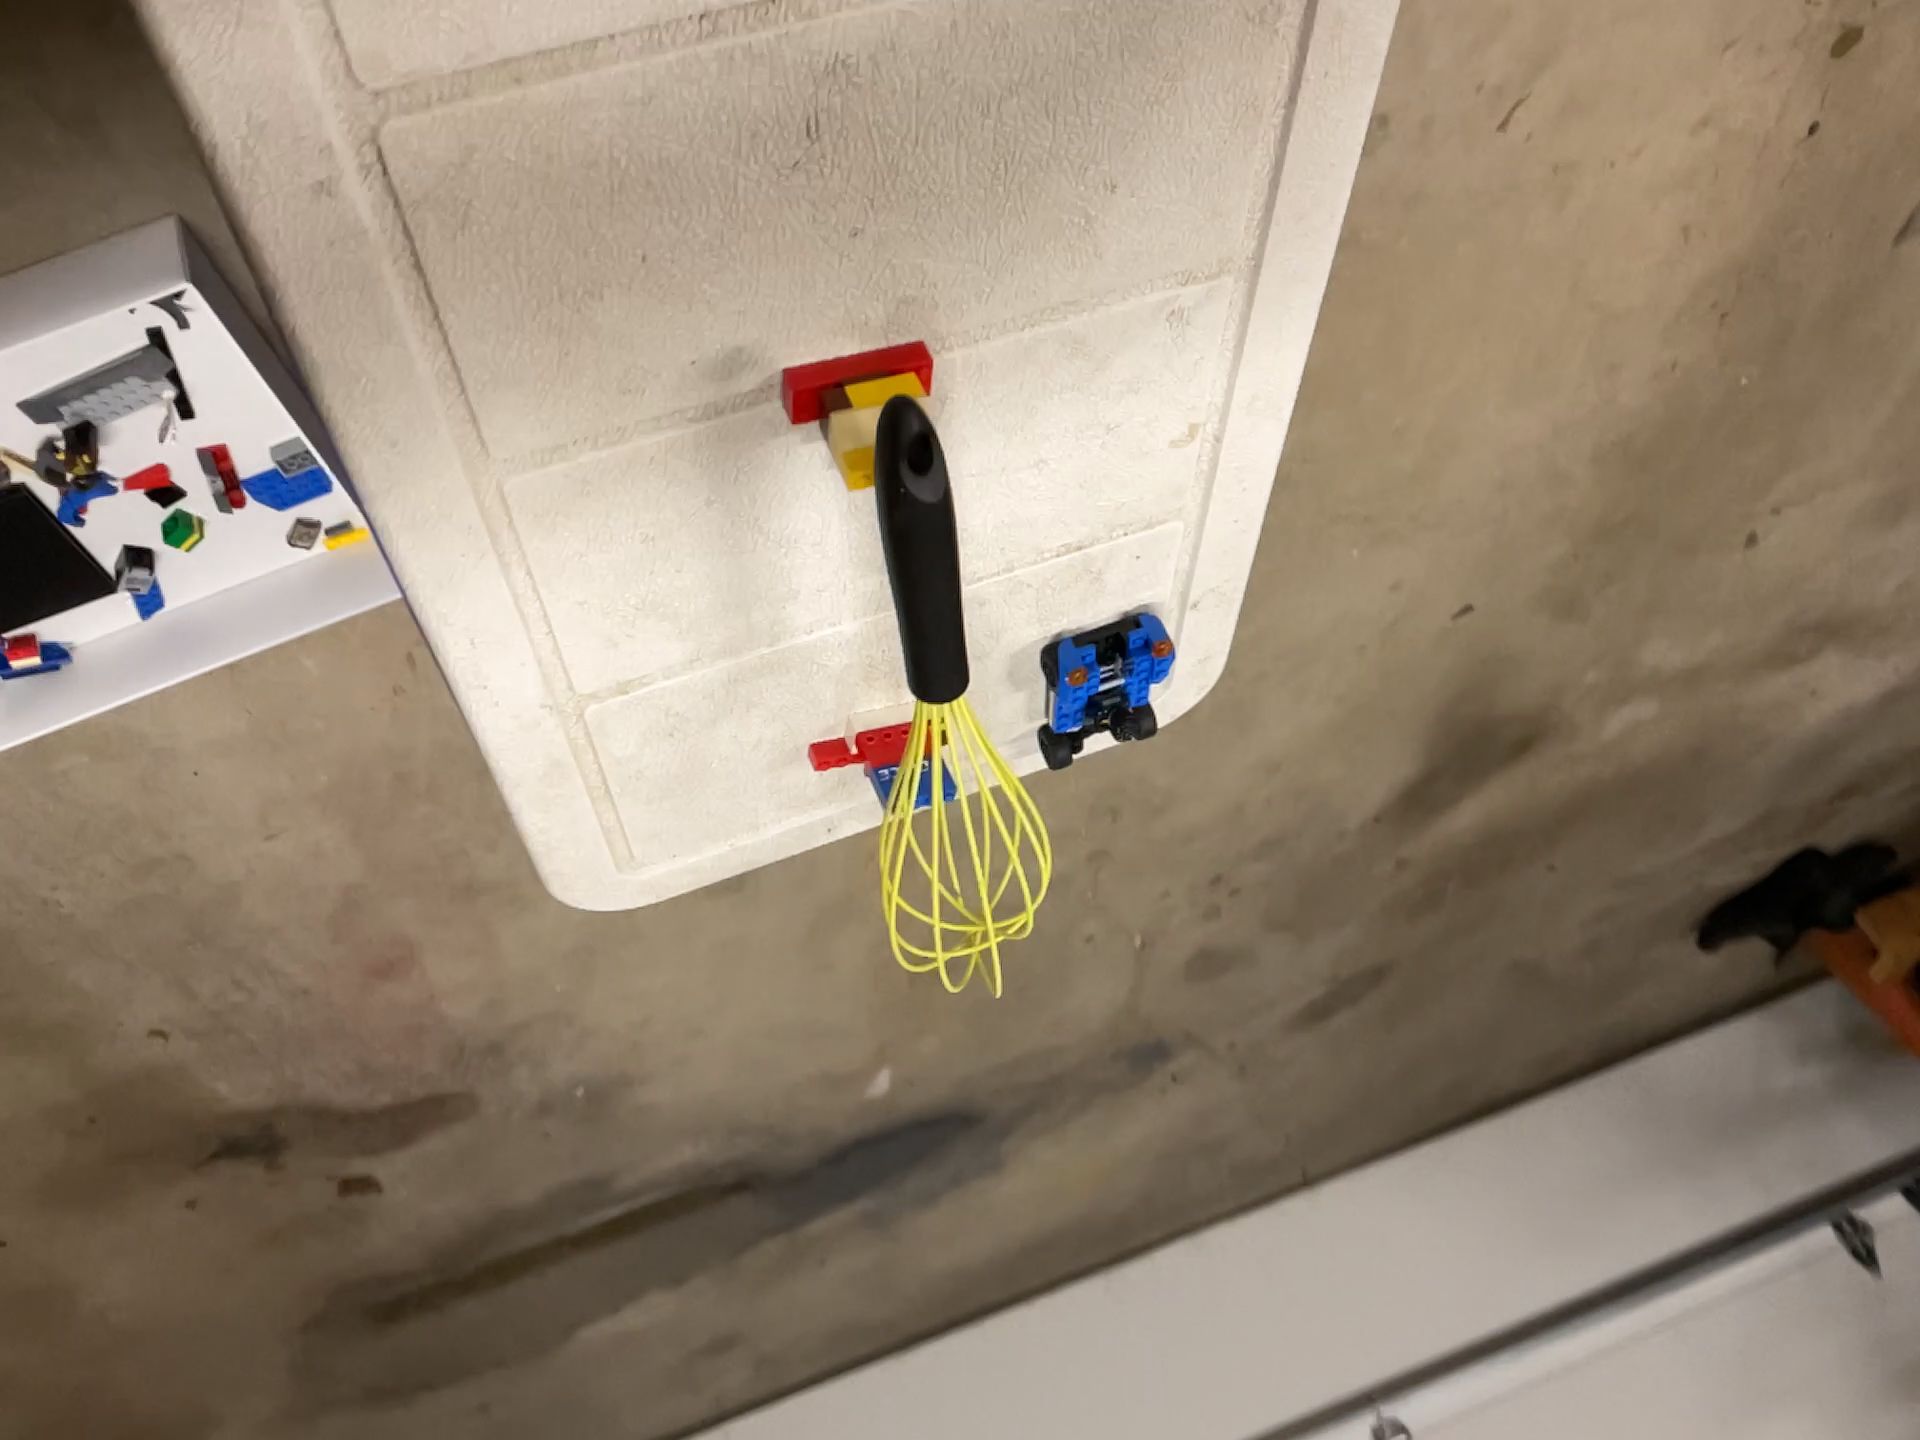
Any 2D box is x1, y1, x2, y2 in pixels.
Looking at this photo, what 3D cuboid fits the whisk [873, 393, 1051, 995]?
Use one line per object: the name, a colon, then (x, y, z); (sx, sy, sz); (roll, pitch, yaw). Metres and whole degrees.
whisk: (-0.007, 0.004, 0.584); (0.311, 0.067, 0.080); (83, 28, -50)
